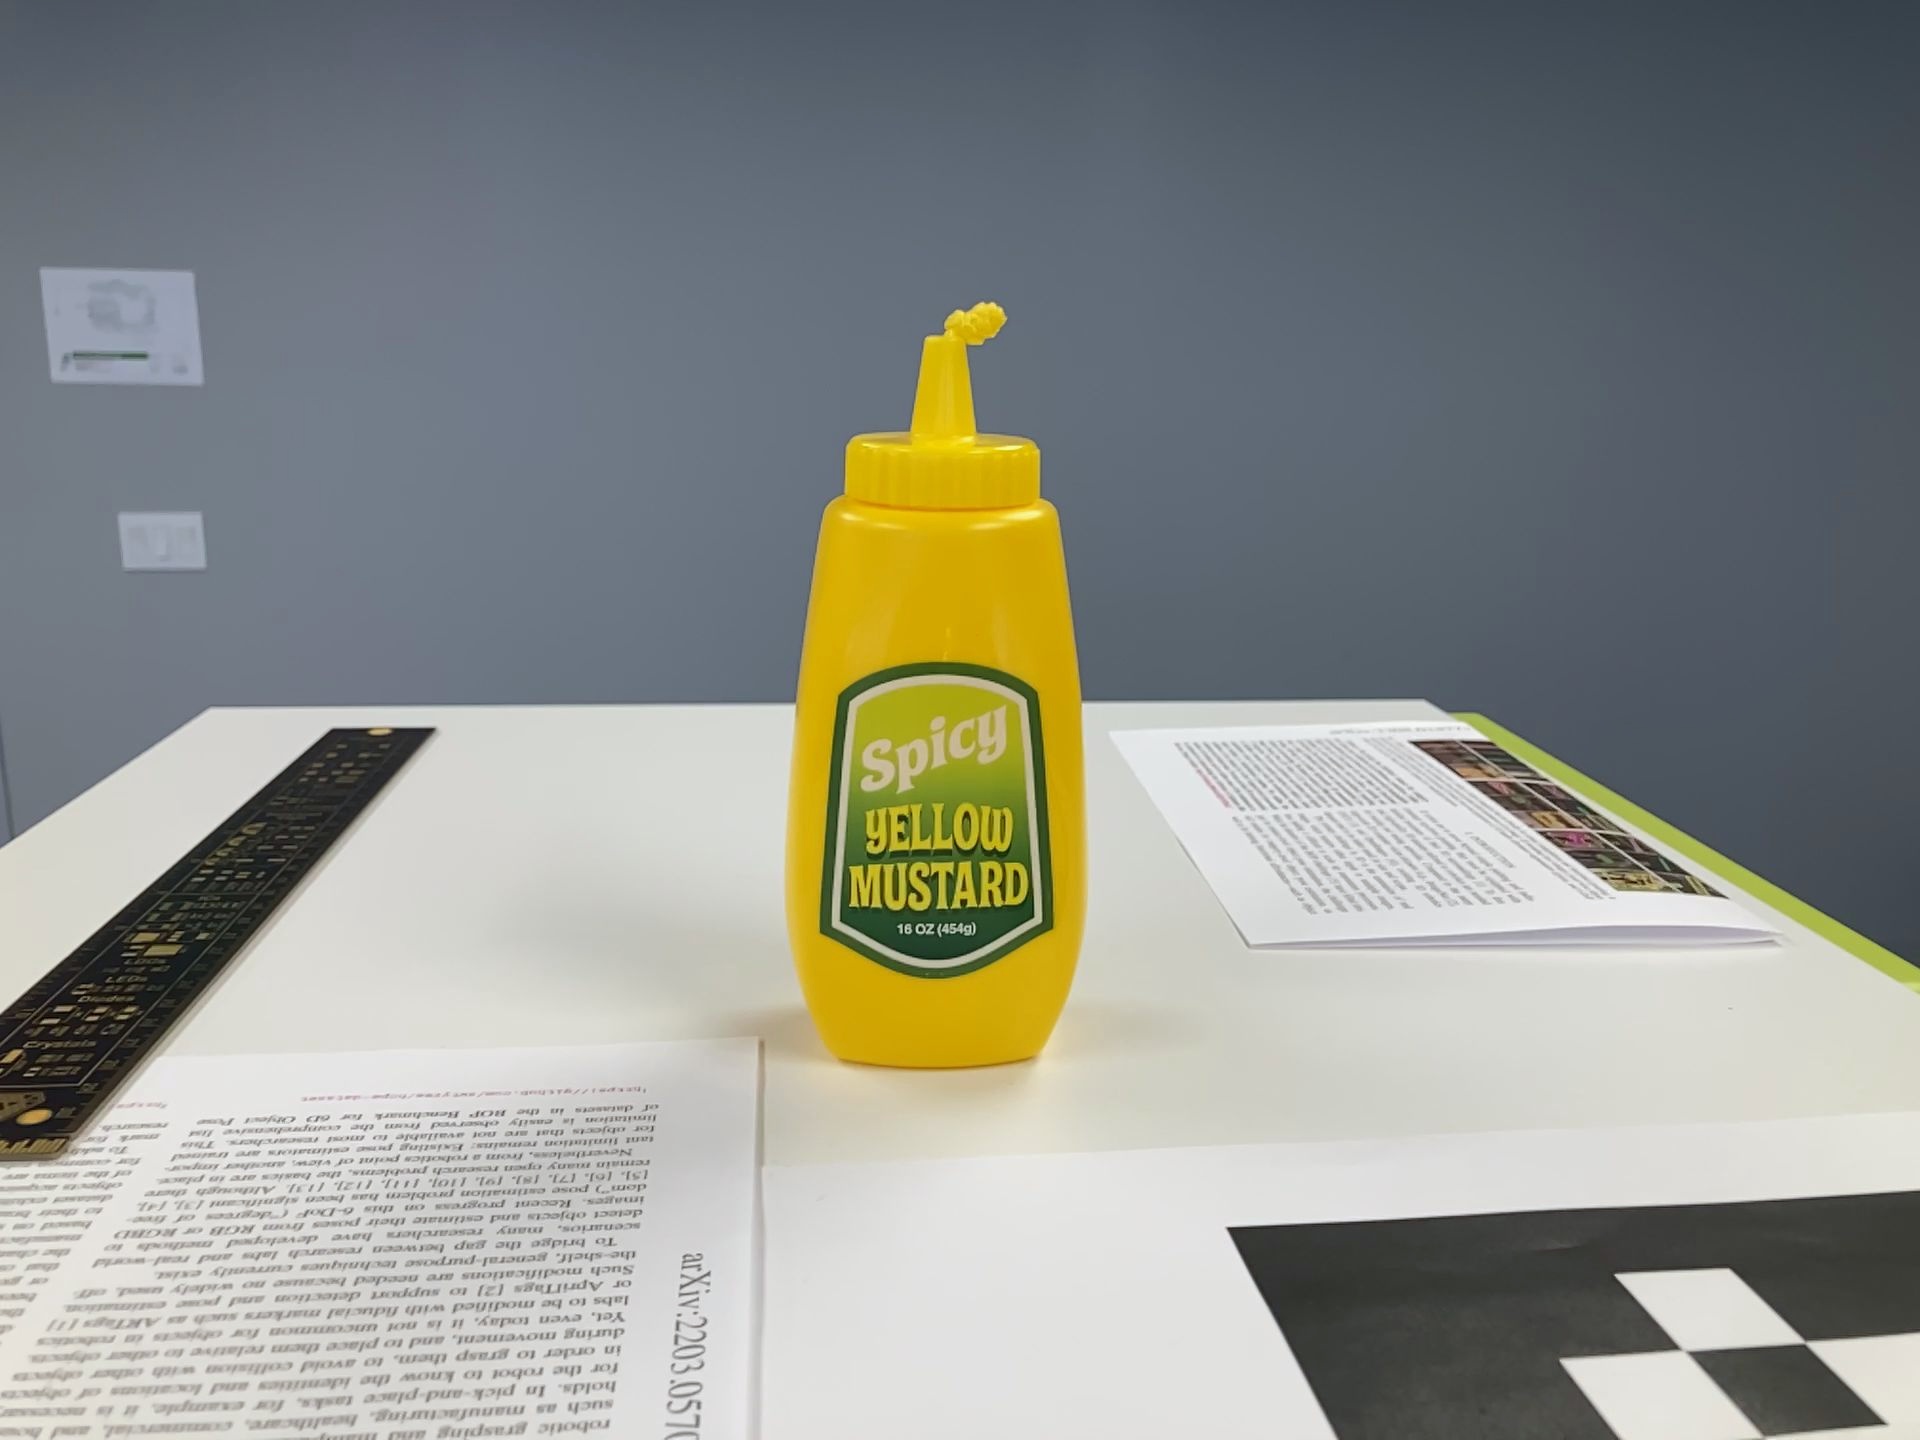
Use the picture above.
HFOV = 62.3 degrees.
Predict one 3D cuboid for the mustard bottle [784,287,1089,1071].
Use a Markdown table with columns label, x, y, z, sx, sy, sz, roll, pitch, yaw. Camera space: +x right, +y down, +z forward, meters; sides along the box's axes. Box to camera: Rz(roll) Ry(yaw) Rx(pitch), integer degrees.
| label | x | y | z | sx | sy | sz | roll | pitch | yaw |
| --- | --- | --- | --- | --- | --- | --- | --- | --- | --- |
| mustard bottle | -0.005 | -0.007 | 0.331 | 0.065 | 0.160 | 0.049 | -1 | 15 | -2 |
